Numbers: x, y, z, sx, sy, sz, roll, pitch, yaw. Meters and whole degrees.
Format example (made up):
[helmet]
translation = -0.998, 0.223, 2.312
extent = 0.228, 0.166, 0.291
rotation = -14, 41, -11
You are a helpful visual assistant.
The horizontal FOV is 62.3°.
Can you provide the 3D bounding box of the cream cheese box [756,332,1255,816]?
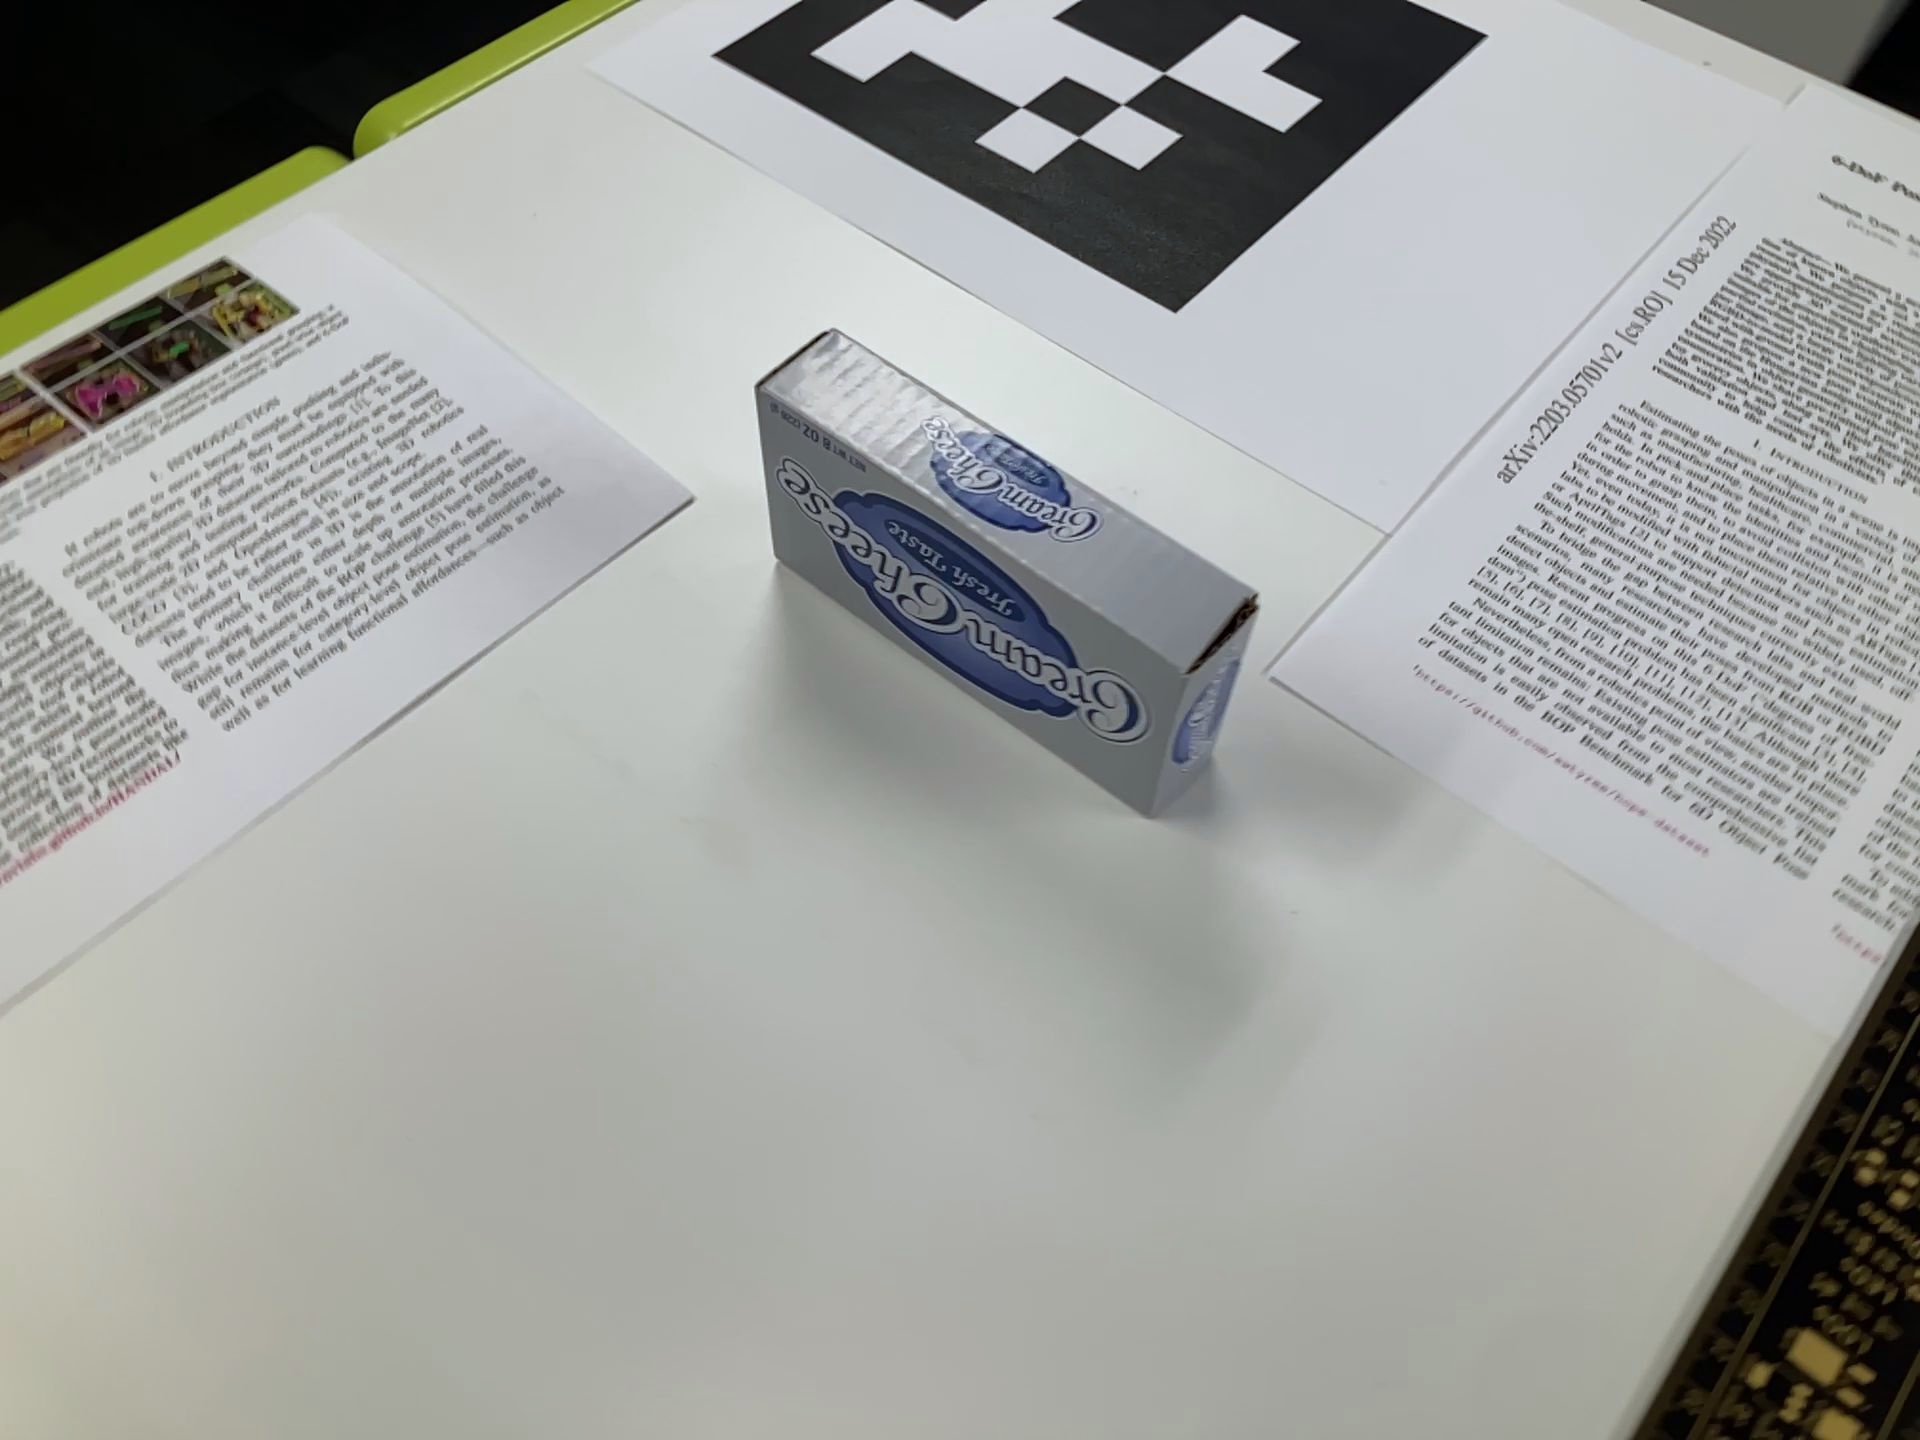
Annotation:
[cream cheese box]
translation = 0.006, -0.029, 0.314
extent = 0.104, 0.053, 0.024
rotation = 35, 63, 20
